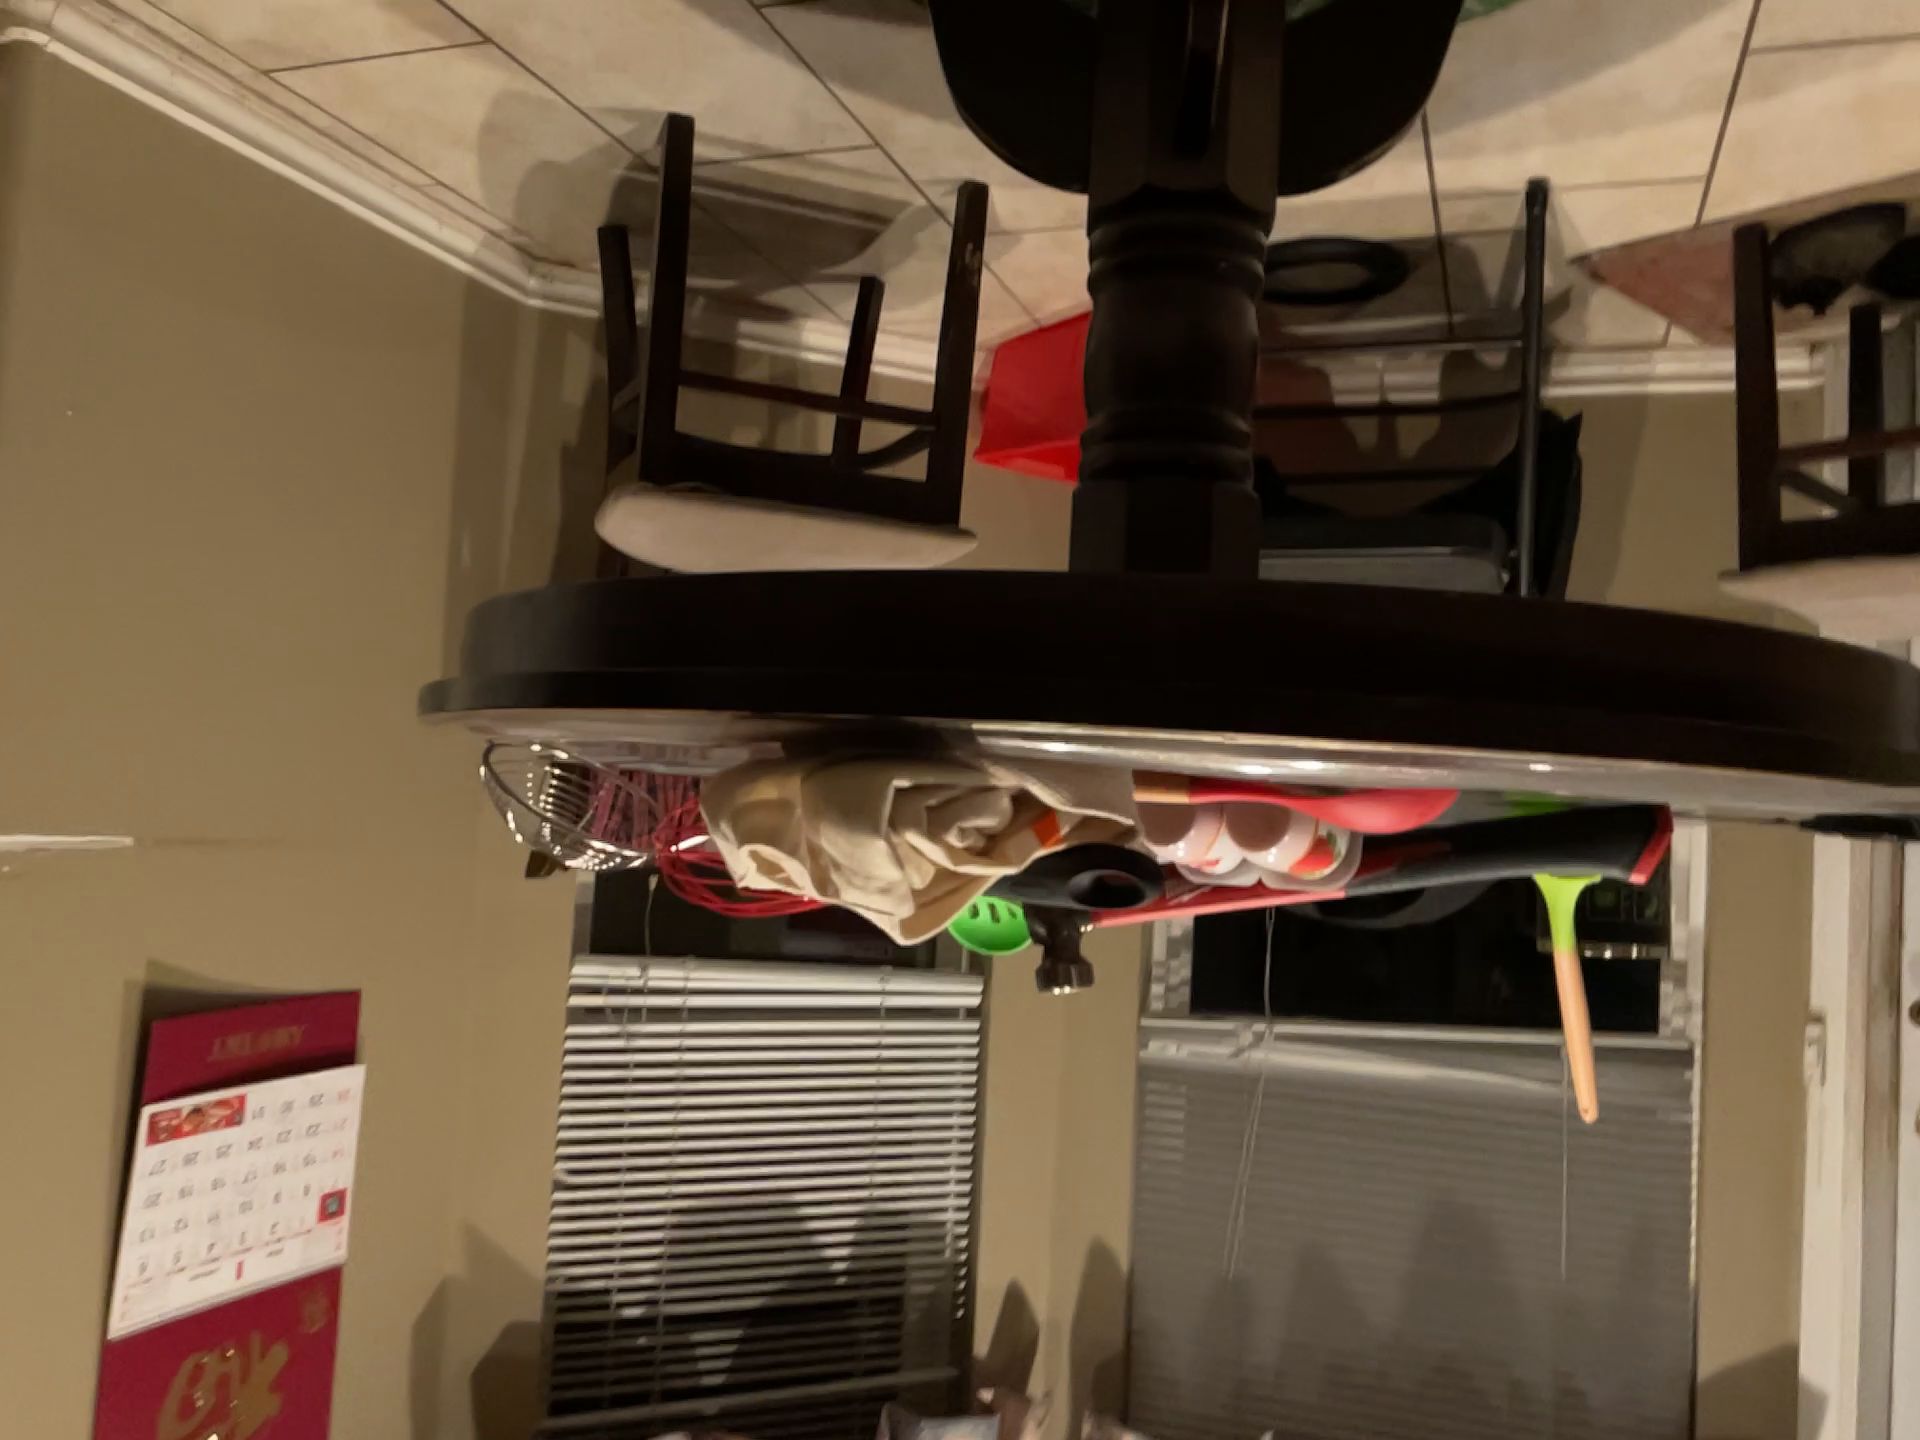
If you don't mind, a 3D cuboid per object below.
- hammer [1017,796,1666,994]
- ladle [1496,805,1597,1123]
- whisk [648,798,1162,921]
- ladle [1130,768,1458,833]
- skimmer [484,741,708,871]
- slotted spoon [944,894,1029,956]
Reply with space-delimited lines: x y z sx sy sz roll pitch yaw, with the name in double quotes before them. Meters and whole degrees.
"hammer" 0.218 0.074 0.964 0.386 0.143 0.038 -11 172 21
"ladle" 0.416 0.183 1.105 0.078 0.319 0.062 14 -133 42
"whisk" -0.039 0.072 0.794 0.296 0.073 0.073 1 174 28
"ladle" 0.093 0.032 0.817 0.315 0.031 0.069 4 176 23
"skimmer" -0.114 0.032 0.964 0.363 0.090 0.127 -9 -179 15
"slotted spoon" -0.001 0.101 1.119 0.070 0.031 0.313 -2 152 11
